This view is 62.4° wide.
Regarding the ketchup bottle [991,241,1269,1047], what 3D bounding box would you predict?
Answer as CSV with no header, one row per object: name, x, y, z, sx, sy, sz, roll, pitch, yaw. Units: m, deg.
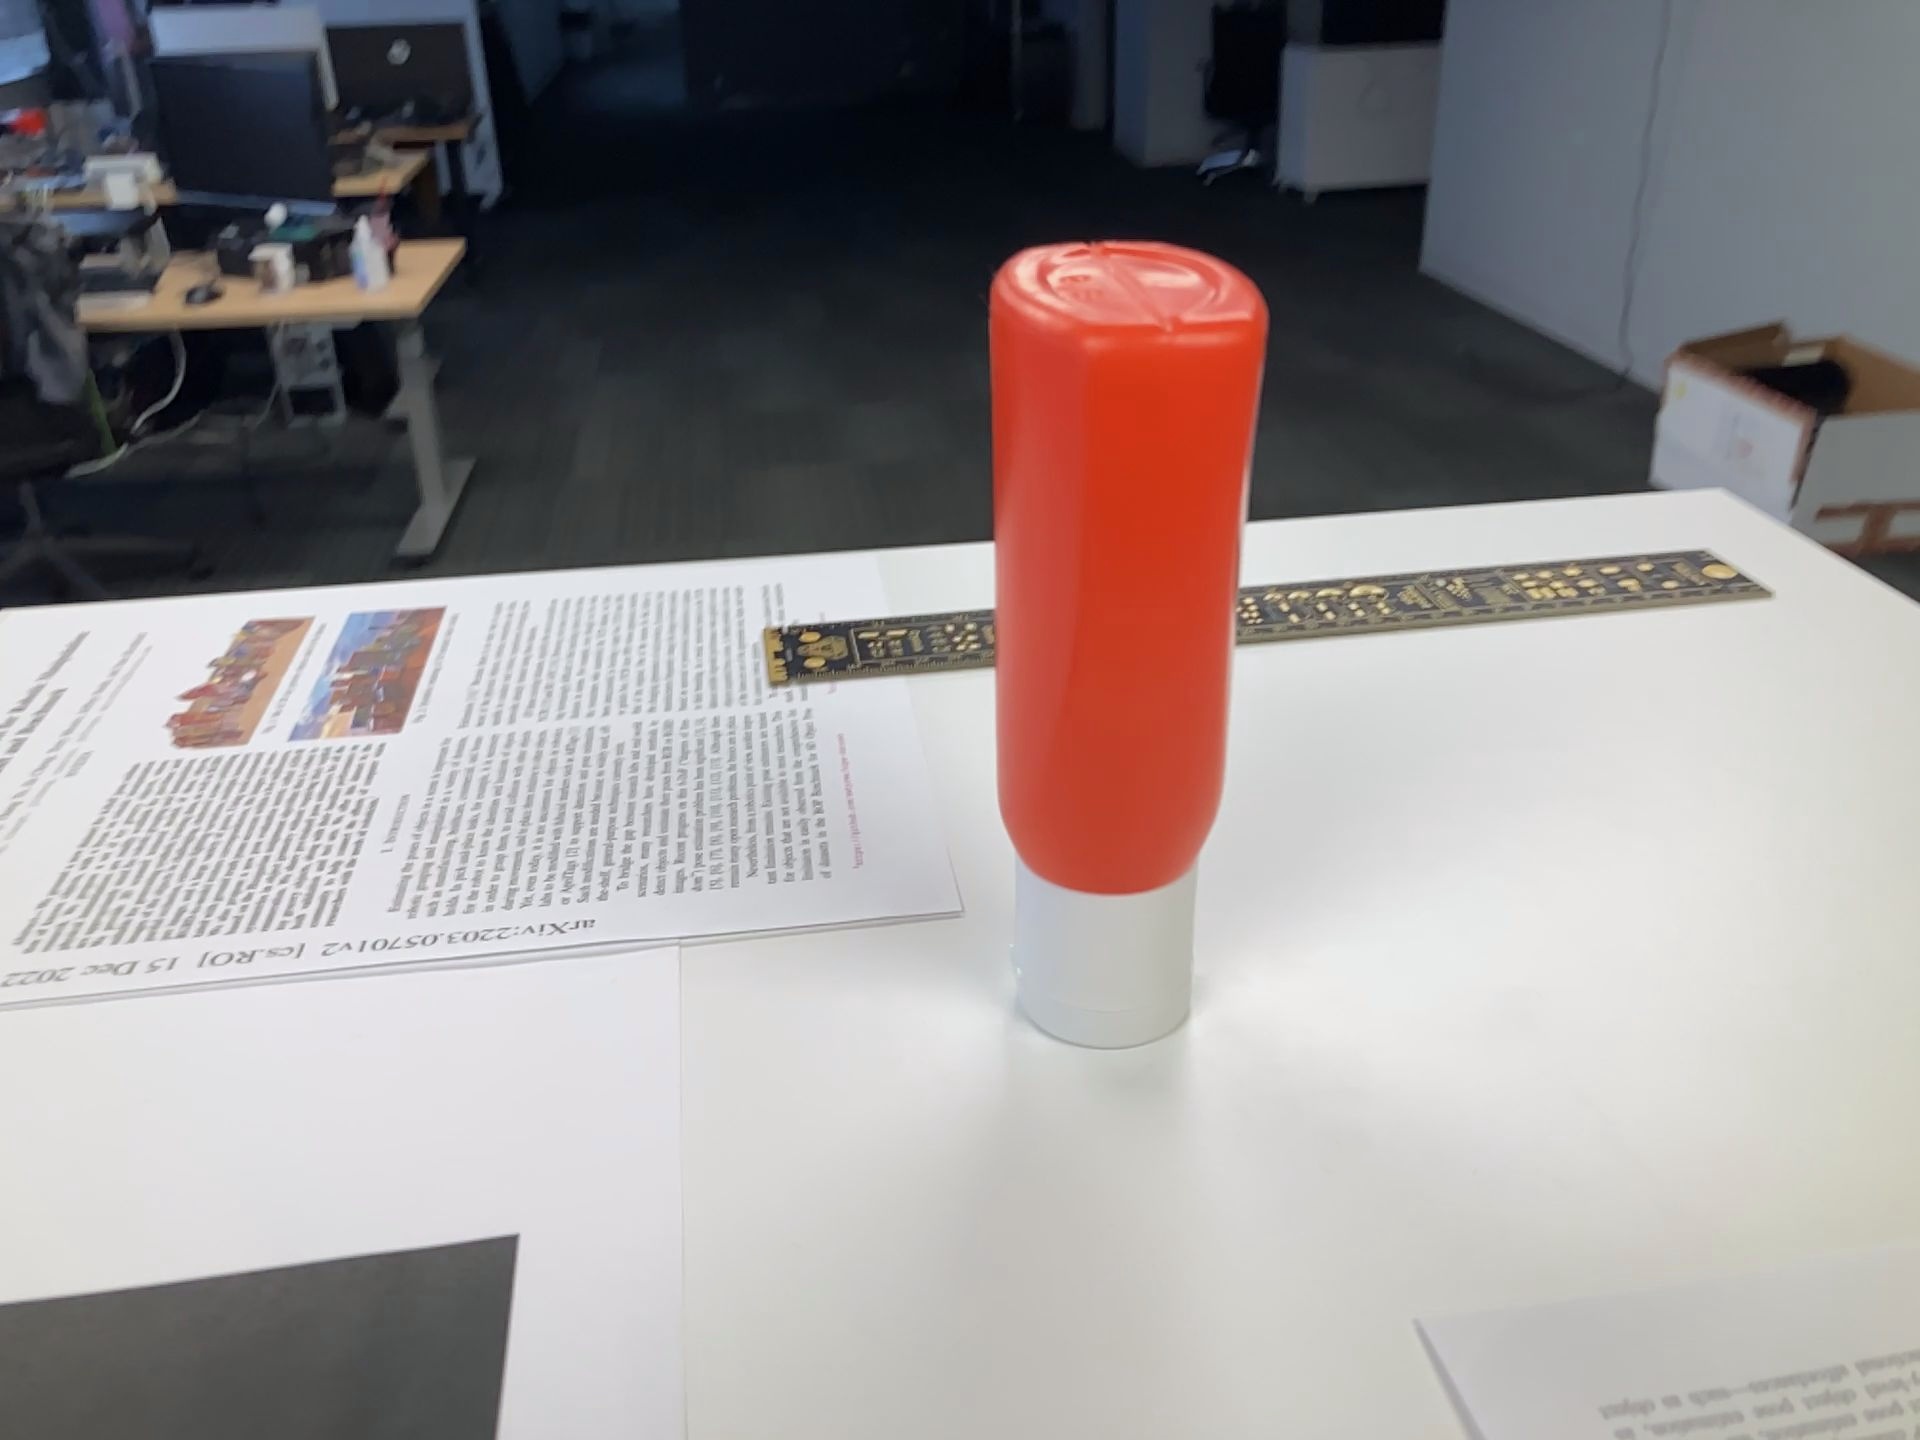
ketchup bottle,0.028,-0.008,0.295,0.043,0.149,0.065,-4,28,-6
